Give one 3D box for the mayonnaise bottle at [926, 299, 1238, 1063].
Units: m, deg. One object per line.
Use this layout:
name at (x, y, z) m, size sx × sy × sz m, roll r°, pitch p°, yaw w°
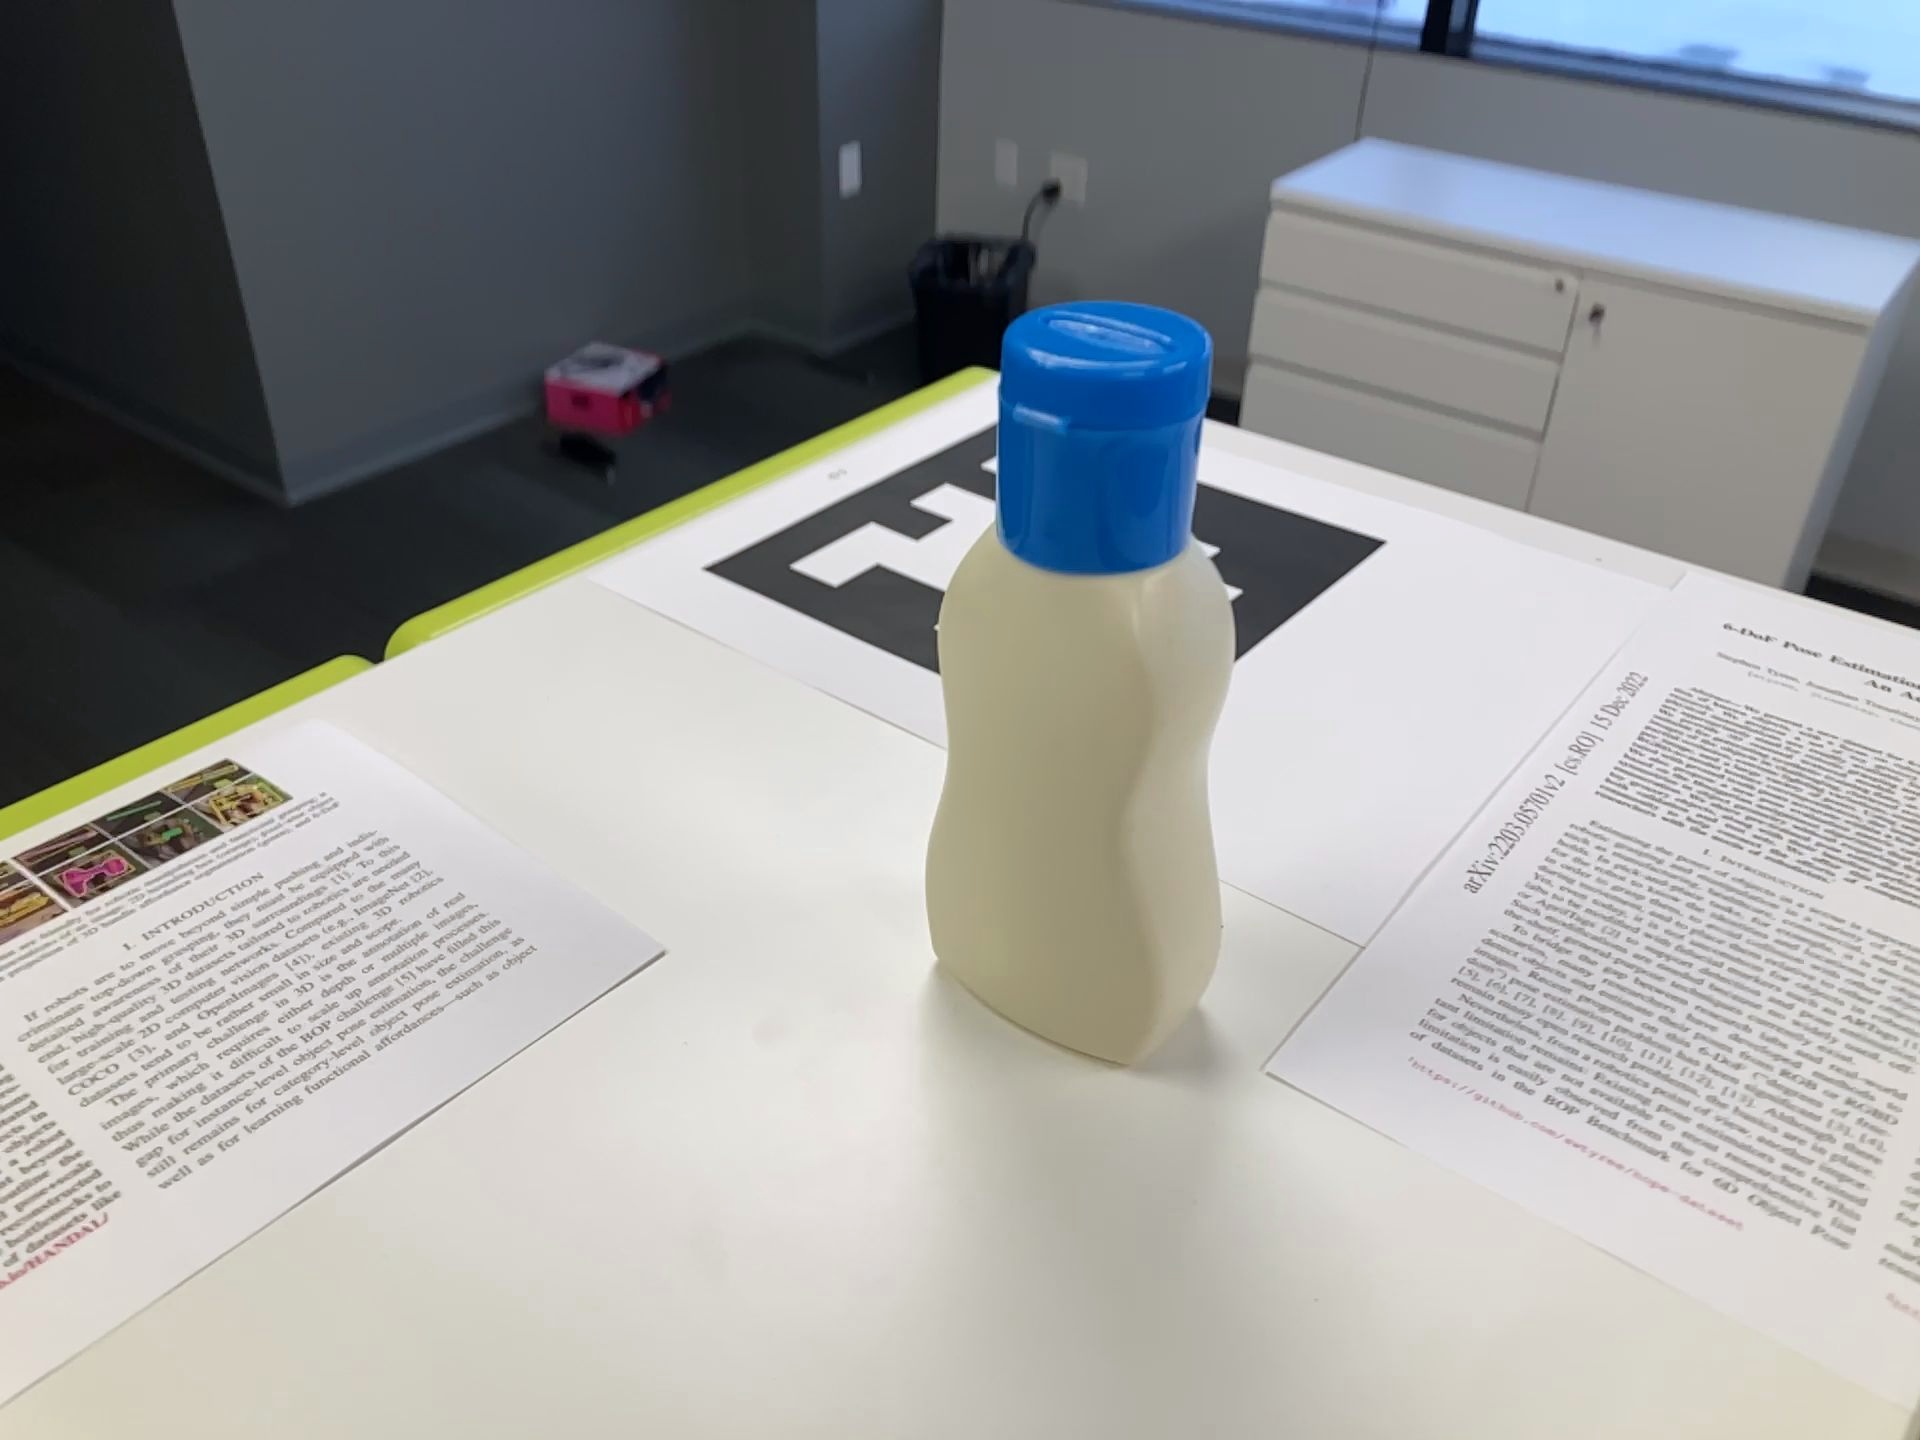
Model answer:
mayonnaise bottle at (0.024, -0.004, 0.310) m, size 0.065 × 0.148 × 0.041 m, roll 24°, pitch 39°, yaw 31°
